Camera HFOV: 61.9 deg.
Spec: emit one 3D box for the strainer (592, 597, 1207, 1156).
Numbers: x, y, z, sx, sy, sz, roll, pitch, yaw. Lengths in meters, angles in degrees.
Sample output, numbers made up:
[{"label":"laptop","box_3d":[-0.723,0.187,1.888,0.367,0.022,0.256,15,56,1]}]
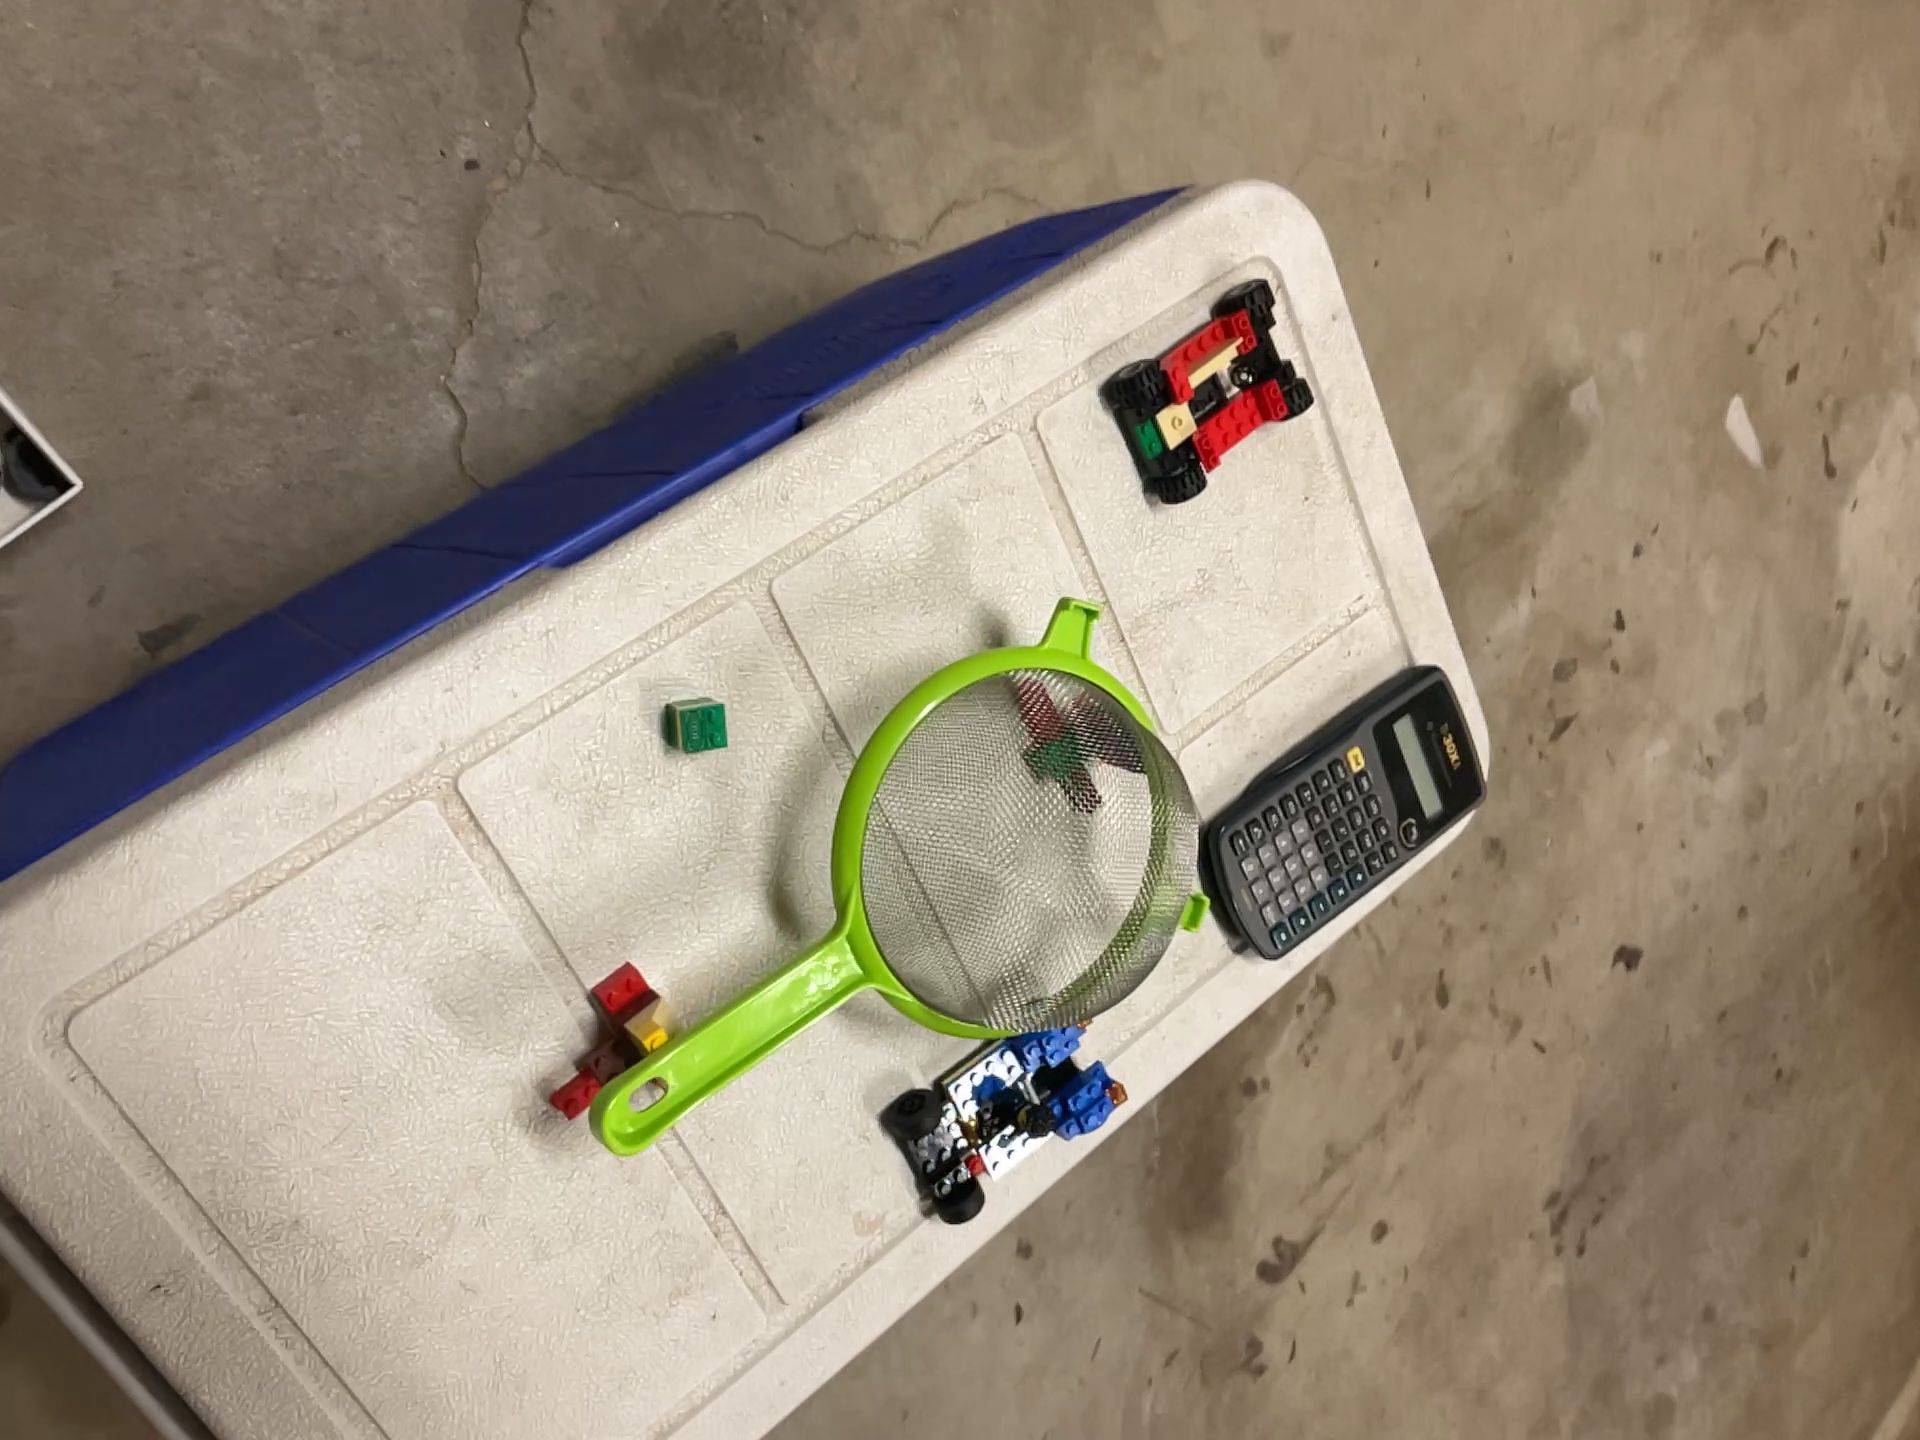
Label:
[{"label":"strainer","box_3d":[-0.007,0.077,0.559,0.256,0.069,0.151,-33,115,-24]}]
